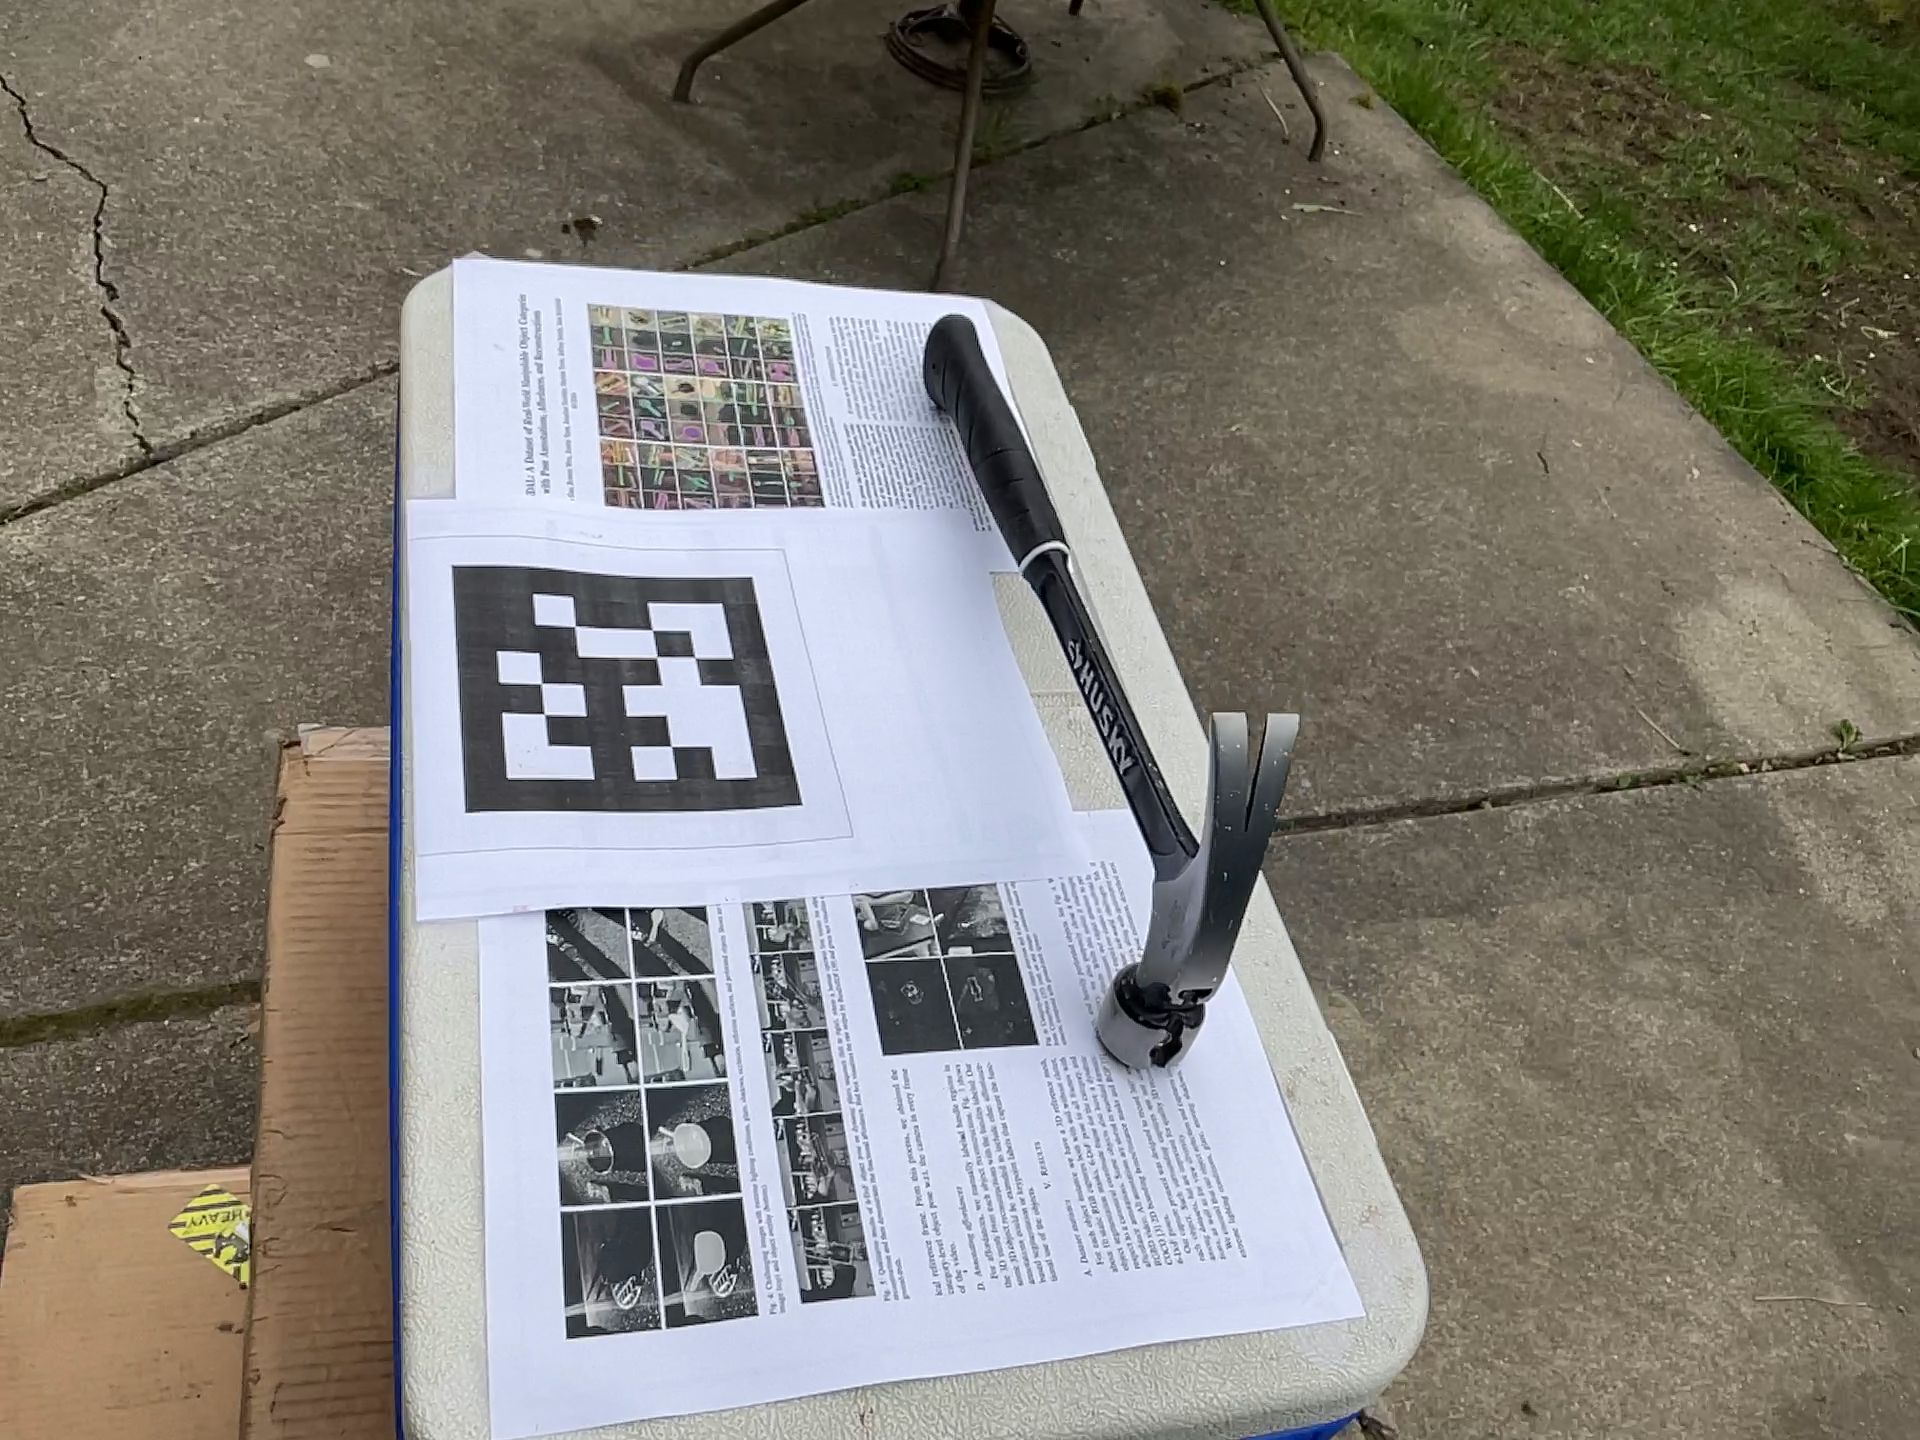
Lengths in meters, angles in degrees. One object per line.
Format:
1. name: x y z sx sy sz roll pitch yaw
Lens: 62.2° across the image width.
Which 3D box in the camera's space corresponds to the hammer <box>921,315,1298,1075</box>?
1. hammer: 0.040 -0.060 0.679 0.036 0.149 0.409 0 42 -18
